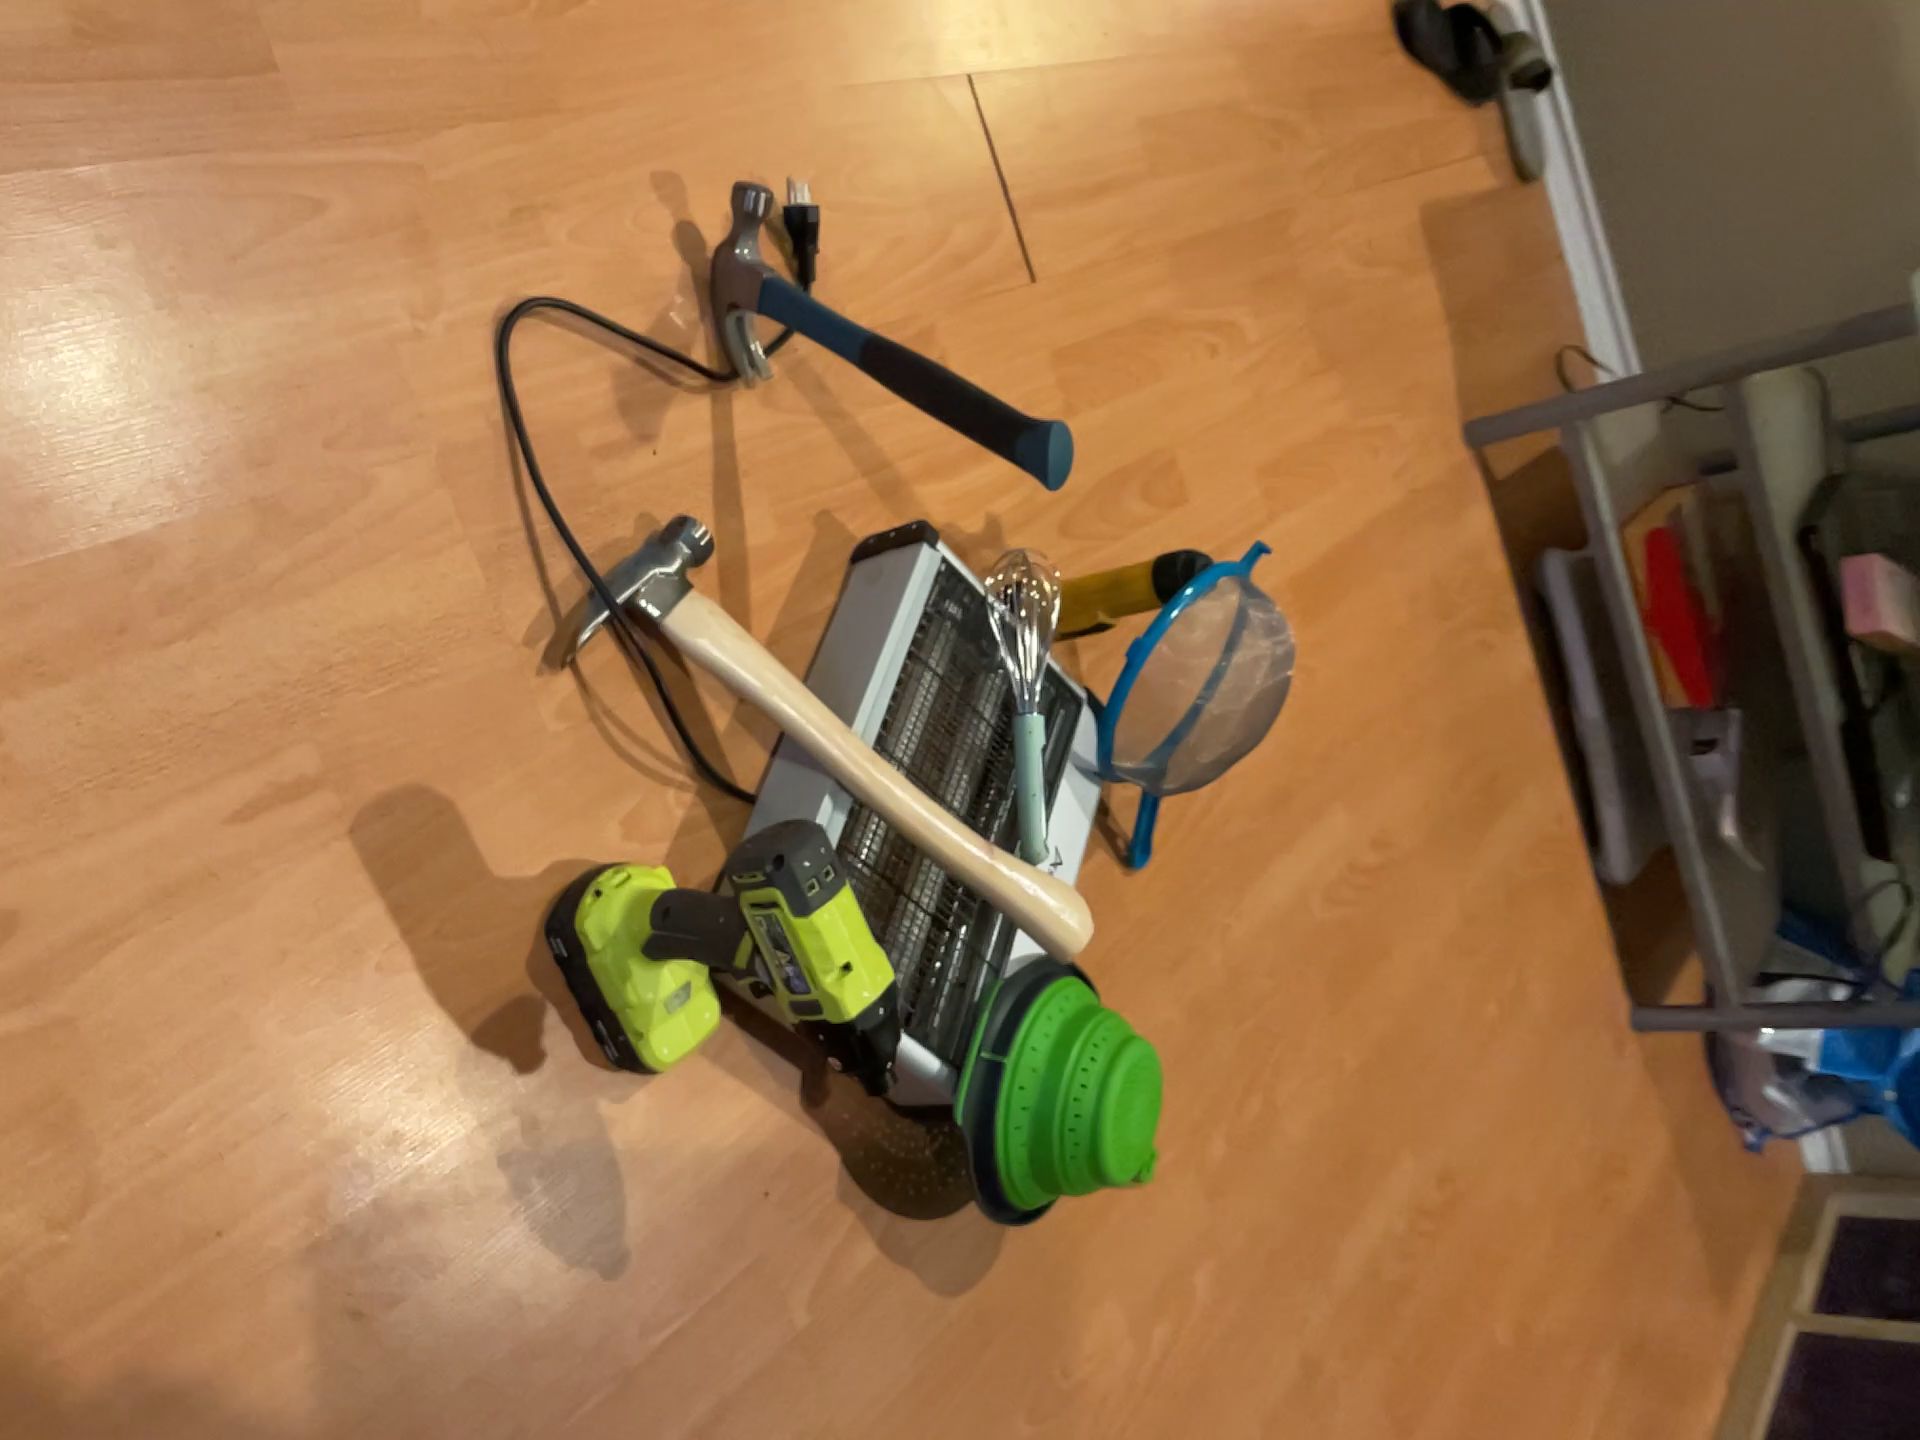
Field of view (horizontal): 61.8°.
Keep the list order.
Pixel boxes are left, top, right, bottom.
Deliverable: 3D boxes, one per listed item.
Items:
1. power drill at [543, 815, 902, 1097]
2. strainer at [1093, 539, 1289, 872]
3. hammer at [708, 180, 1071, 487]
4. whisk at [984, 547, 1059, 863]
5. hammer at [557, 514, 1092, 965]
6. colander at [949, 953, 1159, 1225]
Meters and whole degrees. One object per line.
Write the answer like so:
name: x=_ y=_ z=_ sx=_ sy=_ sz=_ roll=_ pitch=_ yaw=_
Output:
power drill: x=-0.139 y=0.152 z=0.974 sx=0.080 sy=0.223 sz=0.171 roll=-38 pitch=111 yaw=-46
strainer: x=0.205 y=0.028 z=1.361 sx=0.211 sy=0.095 sz=0.340 roll=-37 pitch=146 yaw=-35
hammer: x=-0.055 y=-0.254 z=1.113 sx=0.033 sy=0.331 sz=0.128 roll=-21 pitch=138 yaw=-49
whisk: x=0.052 y=-0.013 z=1.243 sx=0.058 sy=0.059 sz=0.246 roll=17 pitch=70 yaw=-78
hammer: x=-0.079 y=0.035 z=1.094 sx=0.410 sy=0.038 sz=0.146 roll=40 pitch=49 yaw=-7
colander: x=0.120 y=0.319 z=1.269 sx=0.397 sy=0.094 sz=0.204 roll=48 pitch=54 yaw=-54
